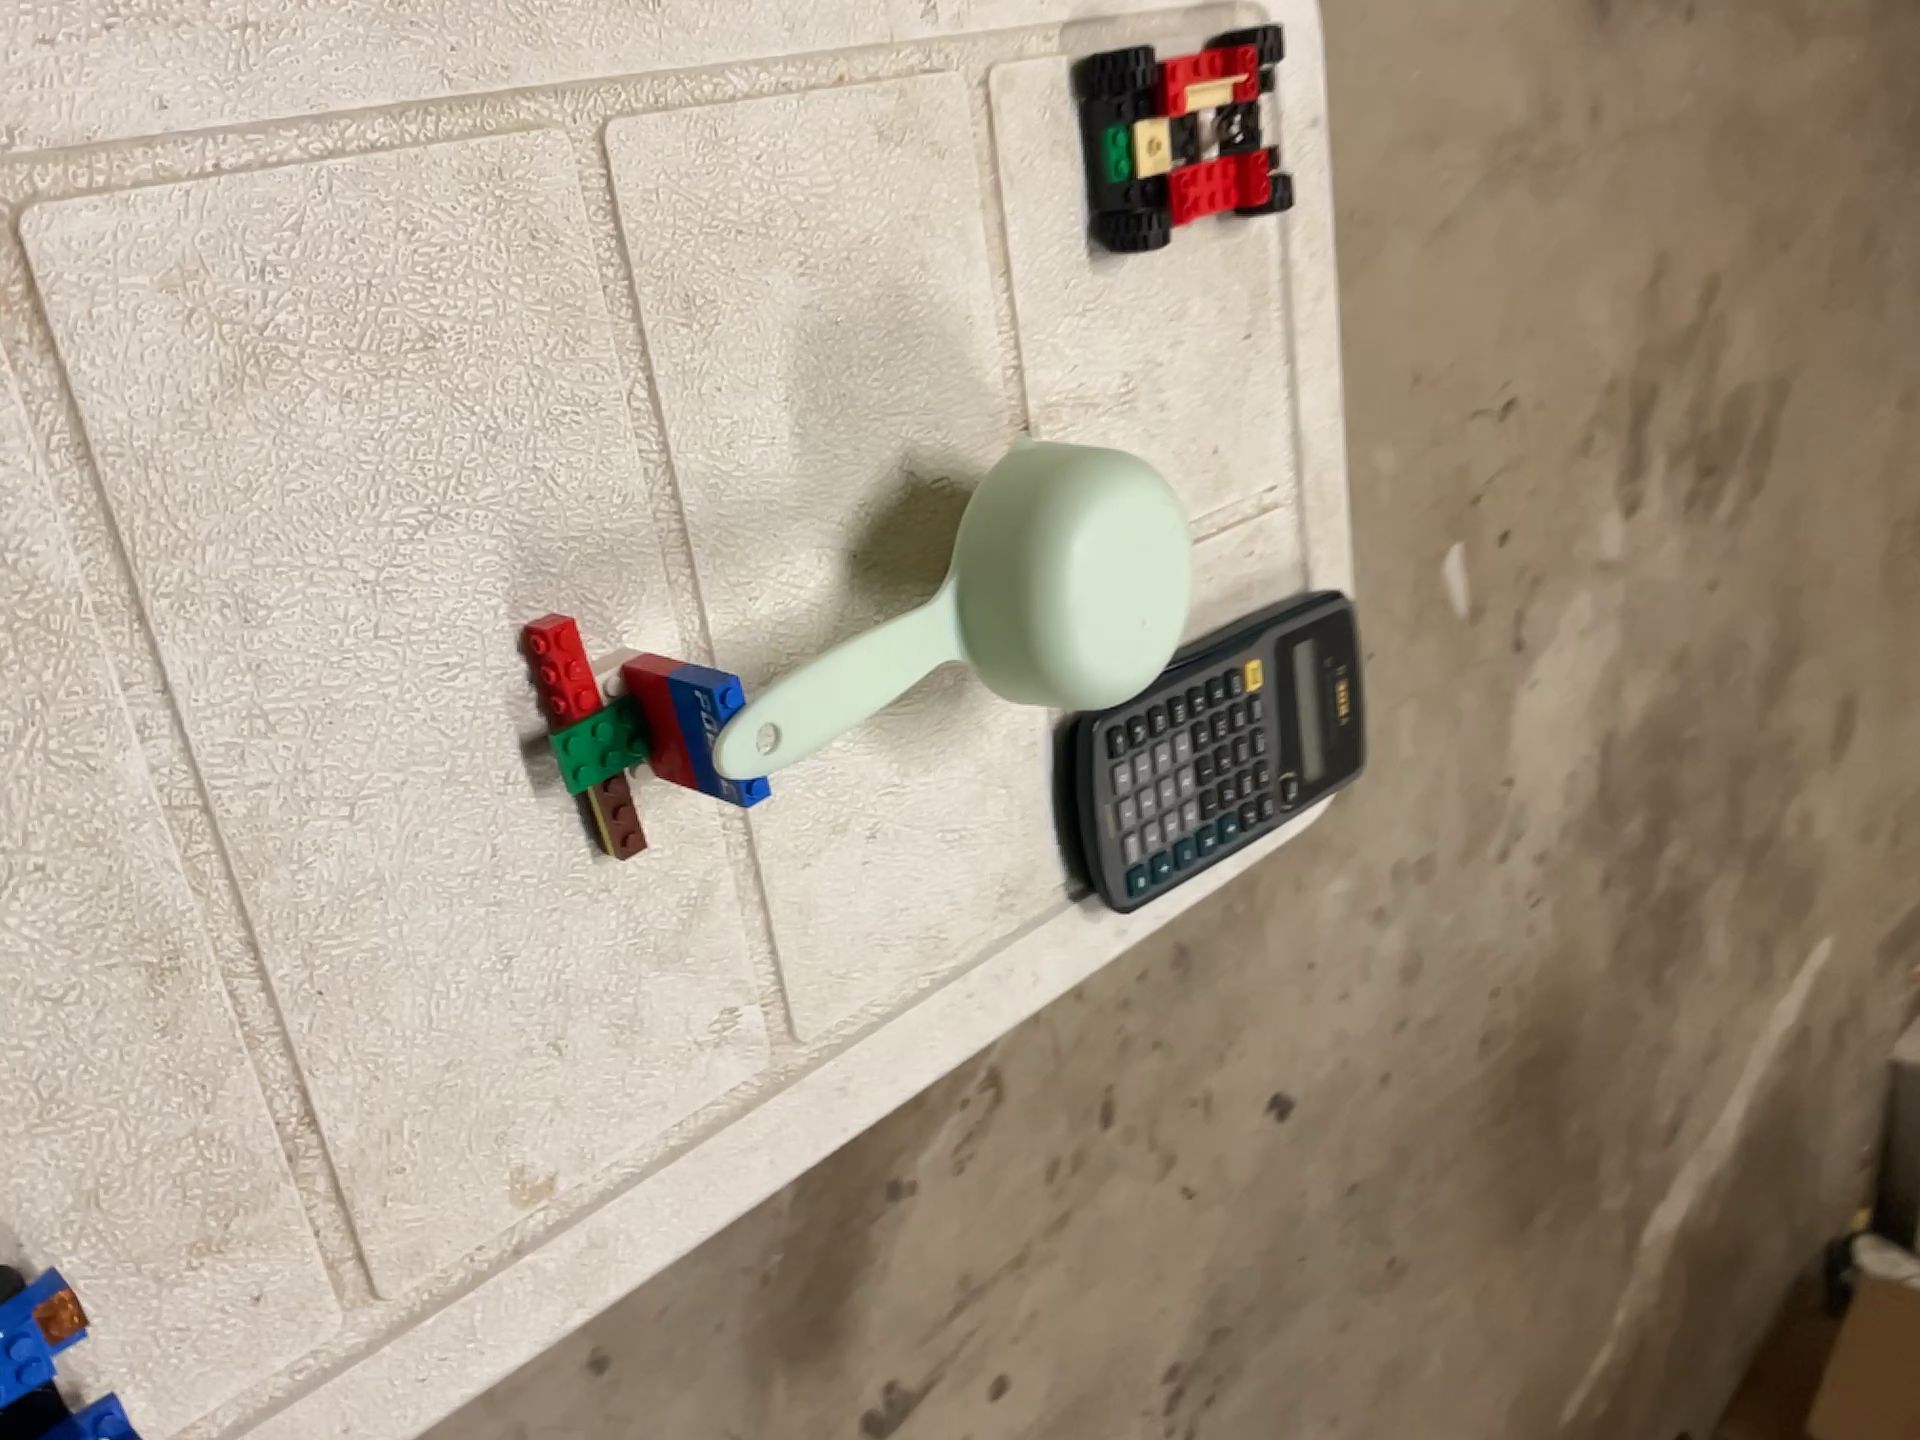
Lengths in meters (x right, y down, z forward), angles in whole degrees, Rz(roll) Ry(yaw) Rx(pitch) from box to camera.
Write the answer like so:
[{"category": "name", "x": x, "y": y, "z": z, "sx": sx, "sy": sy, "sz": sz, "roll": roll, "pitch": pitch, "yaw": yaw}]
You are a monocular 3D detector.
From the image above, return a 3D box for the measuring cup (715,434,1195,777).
[{"category": "measuring cup", "x": 0.007, "y": -0.022, "z": 0.421, "sx": 0.168, "sy": 0.038, "sz": 0.083, "roll": -32, "pitch": 121, "yaw": -42}]
